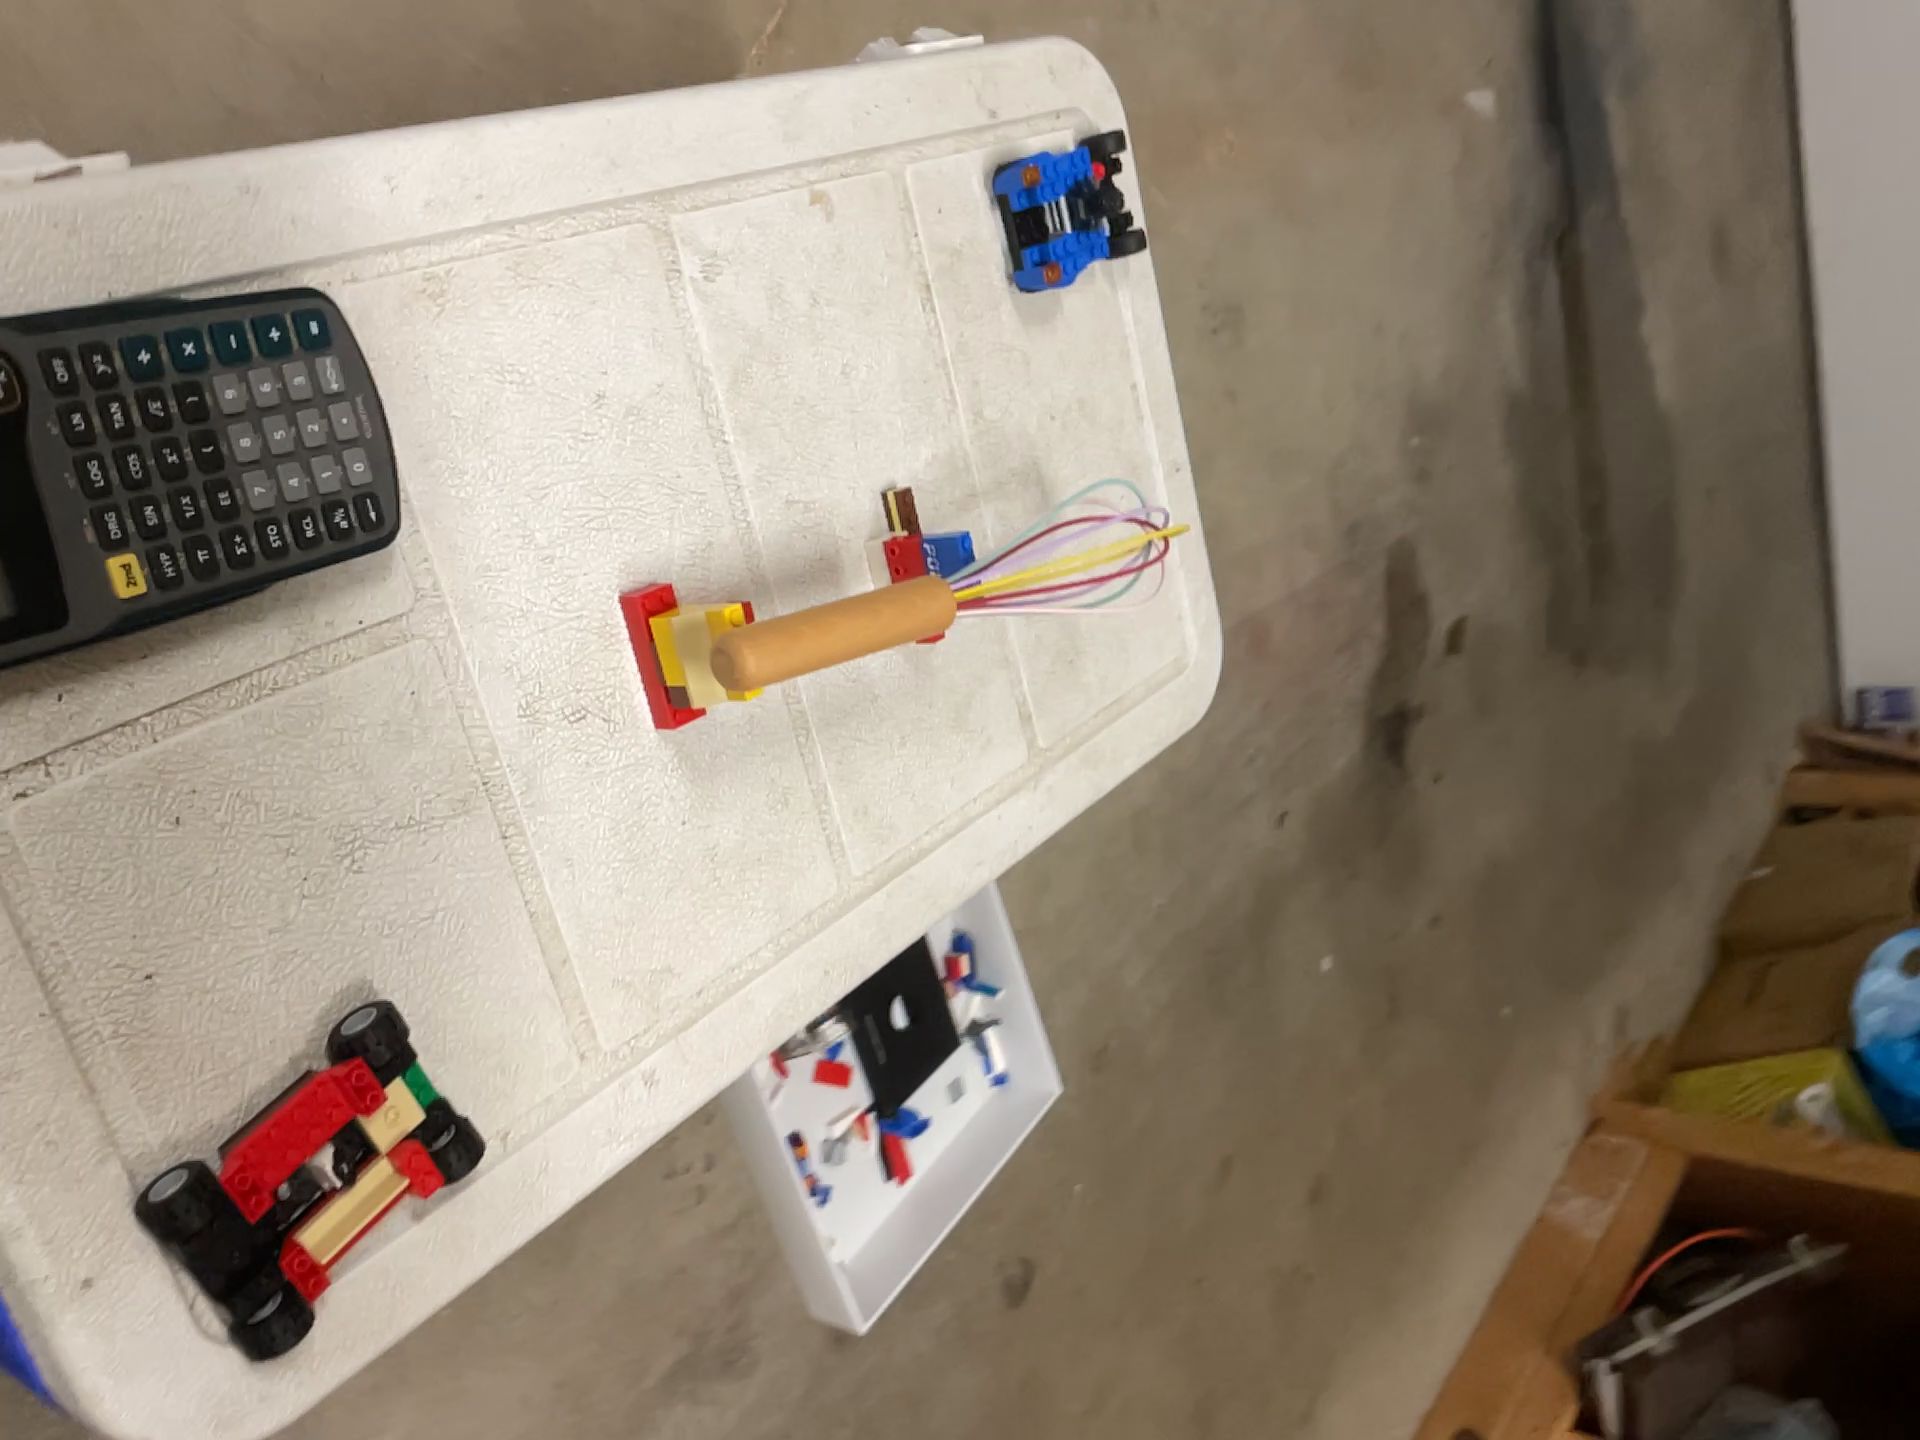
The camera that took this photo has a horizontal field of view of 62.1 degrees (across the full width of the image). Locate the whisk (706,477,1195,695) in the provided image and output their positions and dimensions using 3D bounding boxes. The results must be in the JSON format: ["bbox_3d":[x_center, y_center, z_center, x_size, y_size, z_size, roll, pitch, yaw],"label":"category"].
[{"bbox_3d":[0.008,-0.050,0.585,0.245,0.047,0.051,-20,119,-44],"label":"whisk"}]
